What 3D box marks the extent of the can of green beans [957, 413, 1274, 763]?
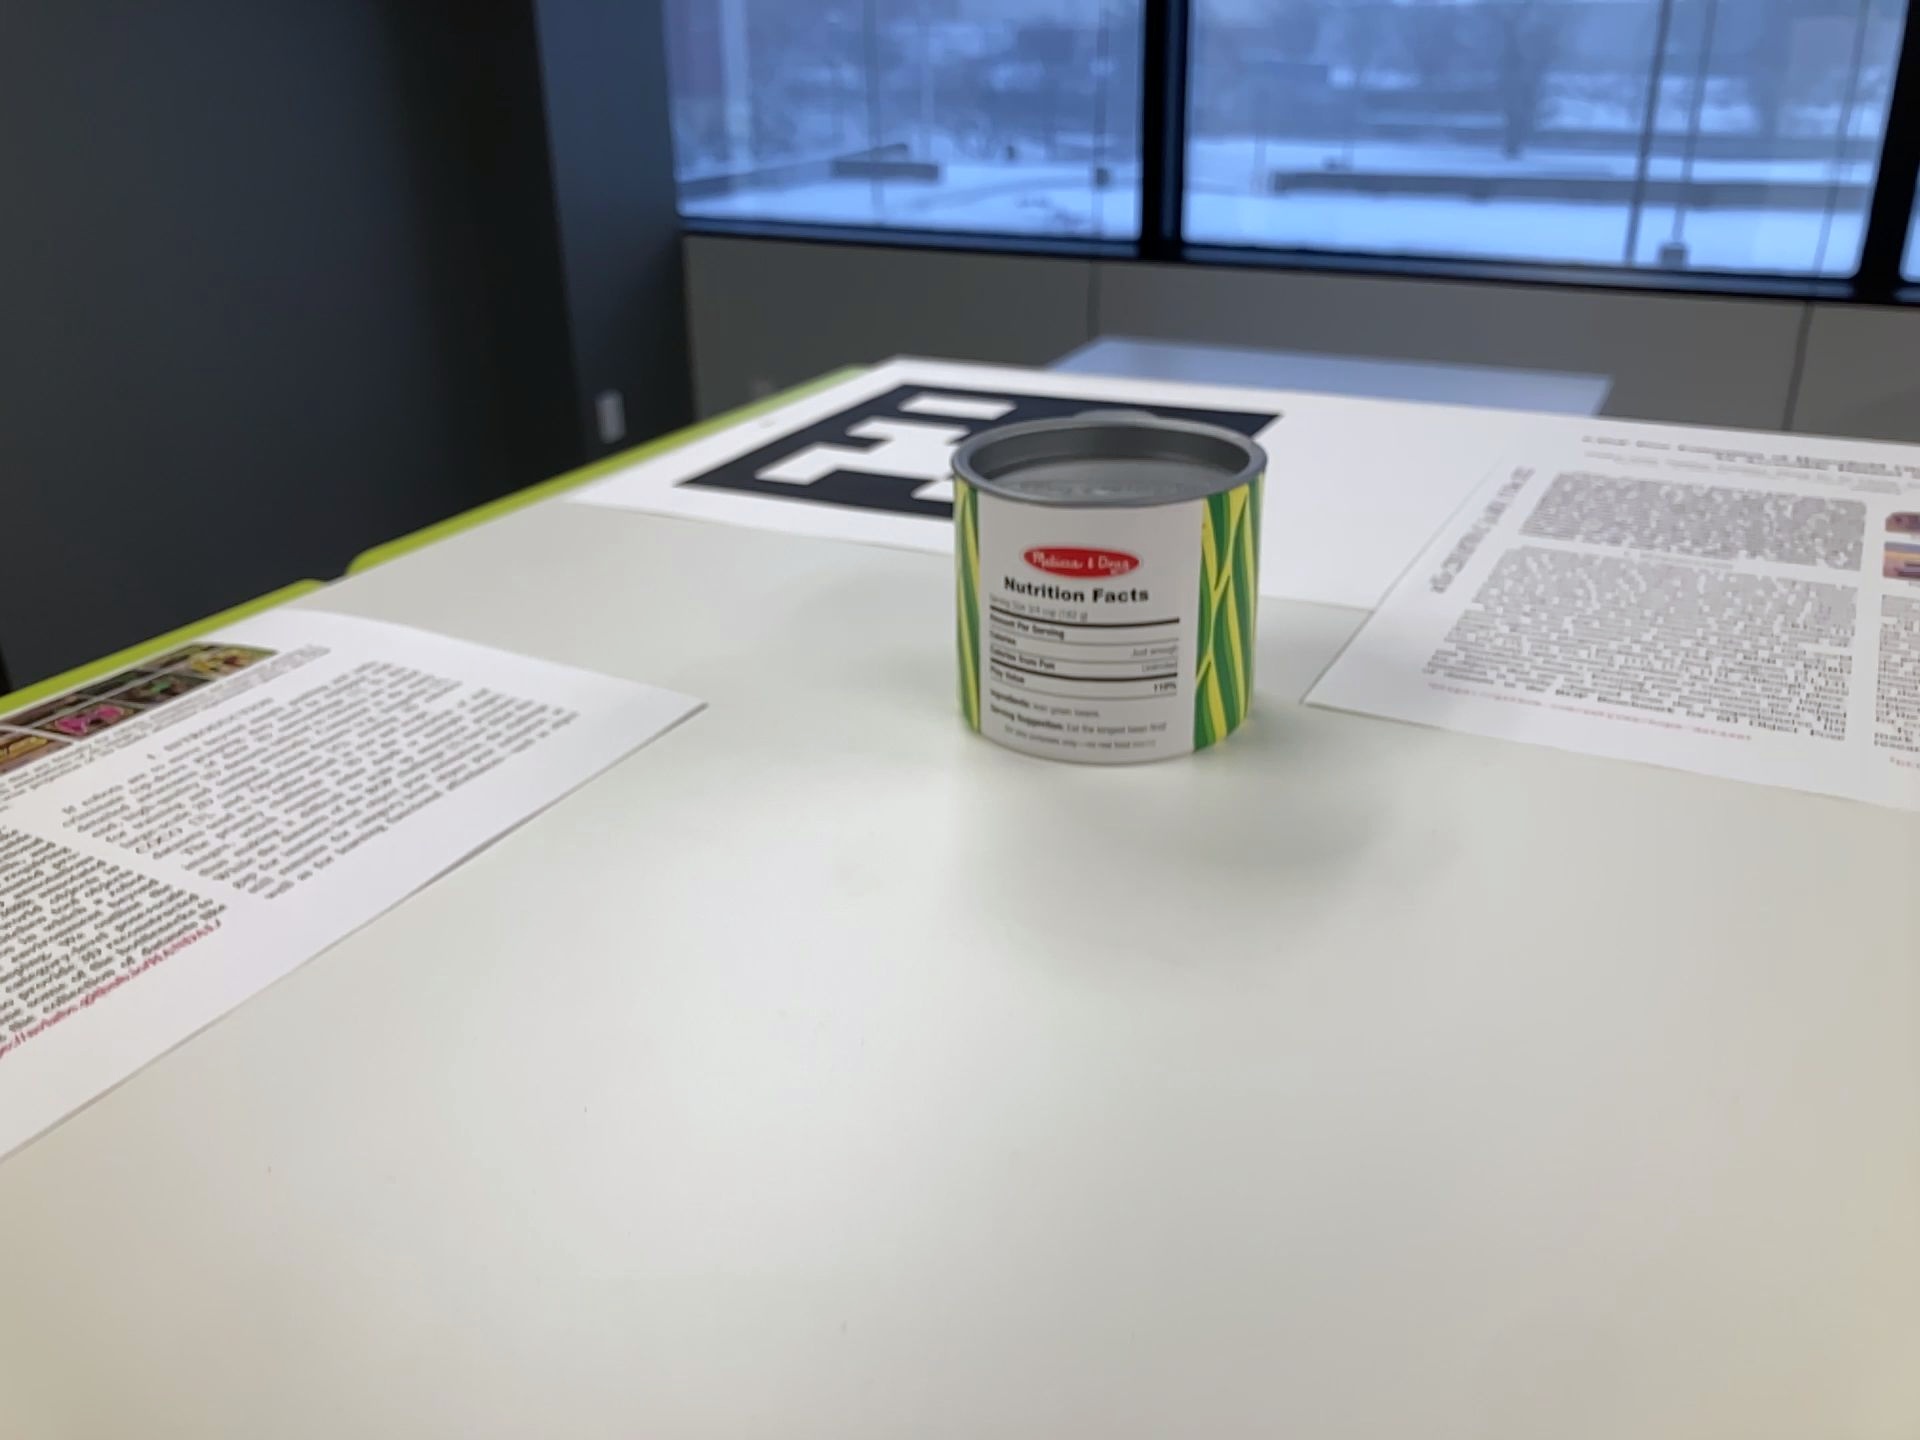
[{"bbox_3d":[0.033,-0.030,0.349,0.071,0.058,0.071,-1,24,0],"label":"can of green beans"}]
